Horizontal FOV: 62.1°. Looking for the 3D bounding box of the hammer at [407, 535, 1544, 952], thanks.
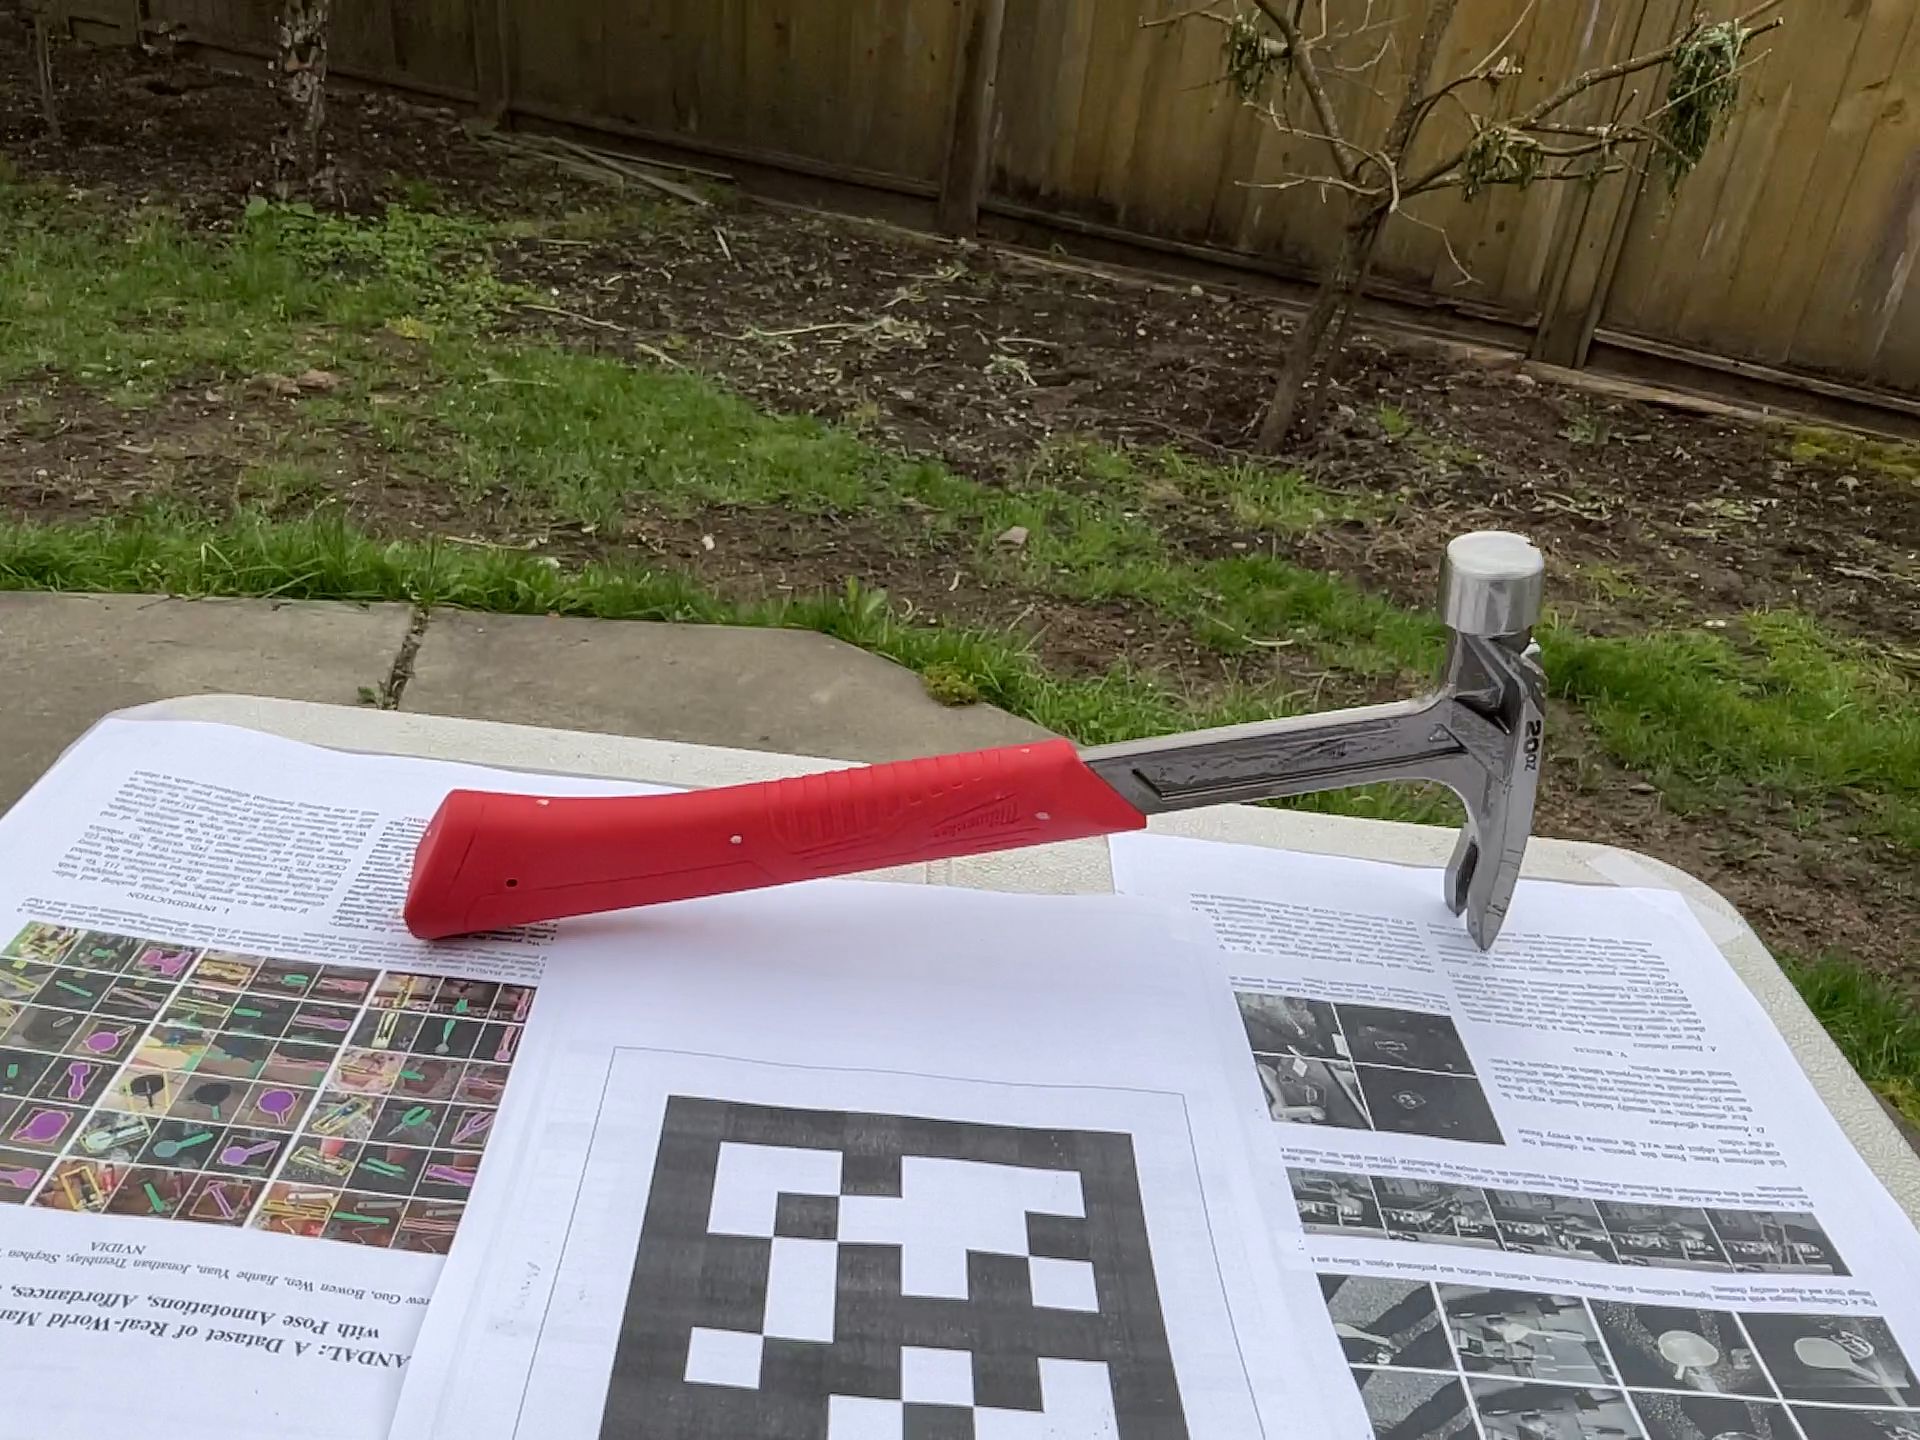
[{"bbox_3d":[0.011,0.035,0.512,0.359,0.149,0.037,-9,31,-7],"label":"hammer"}]
